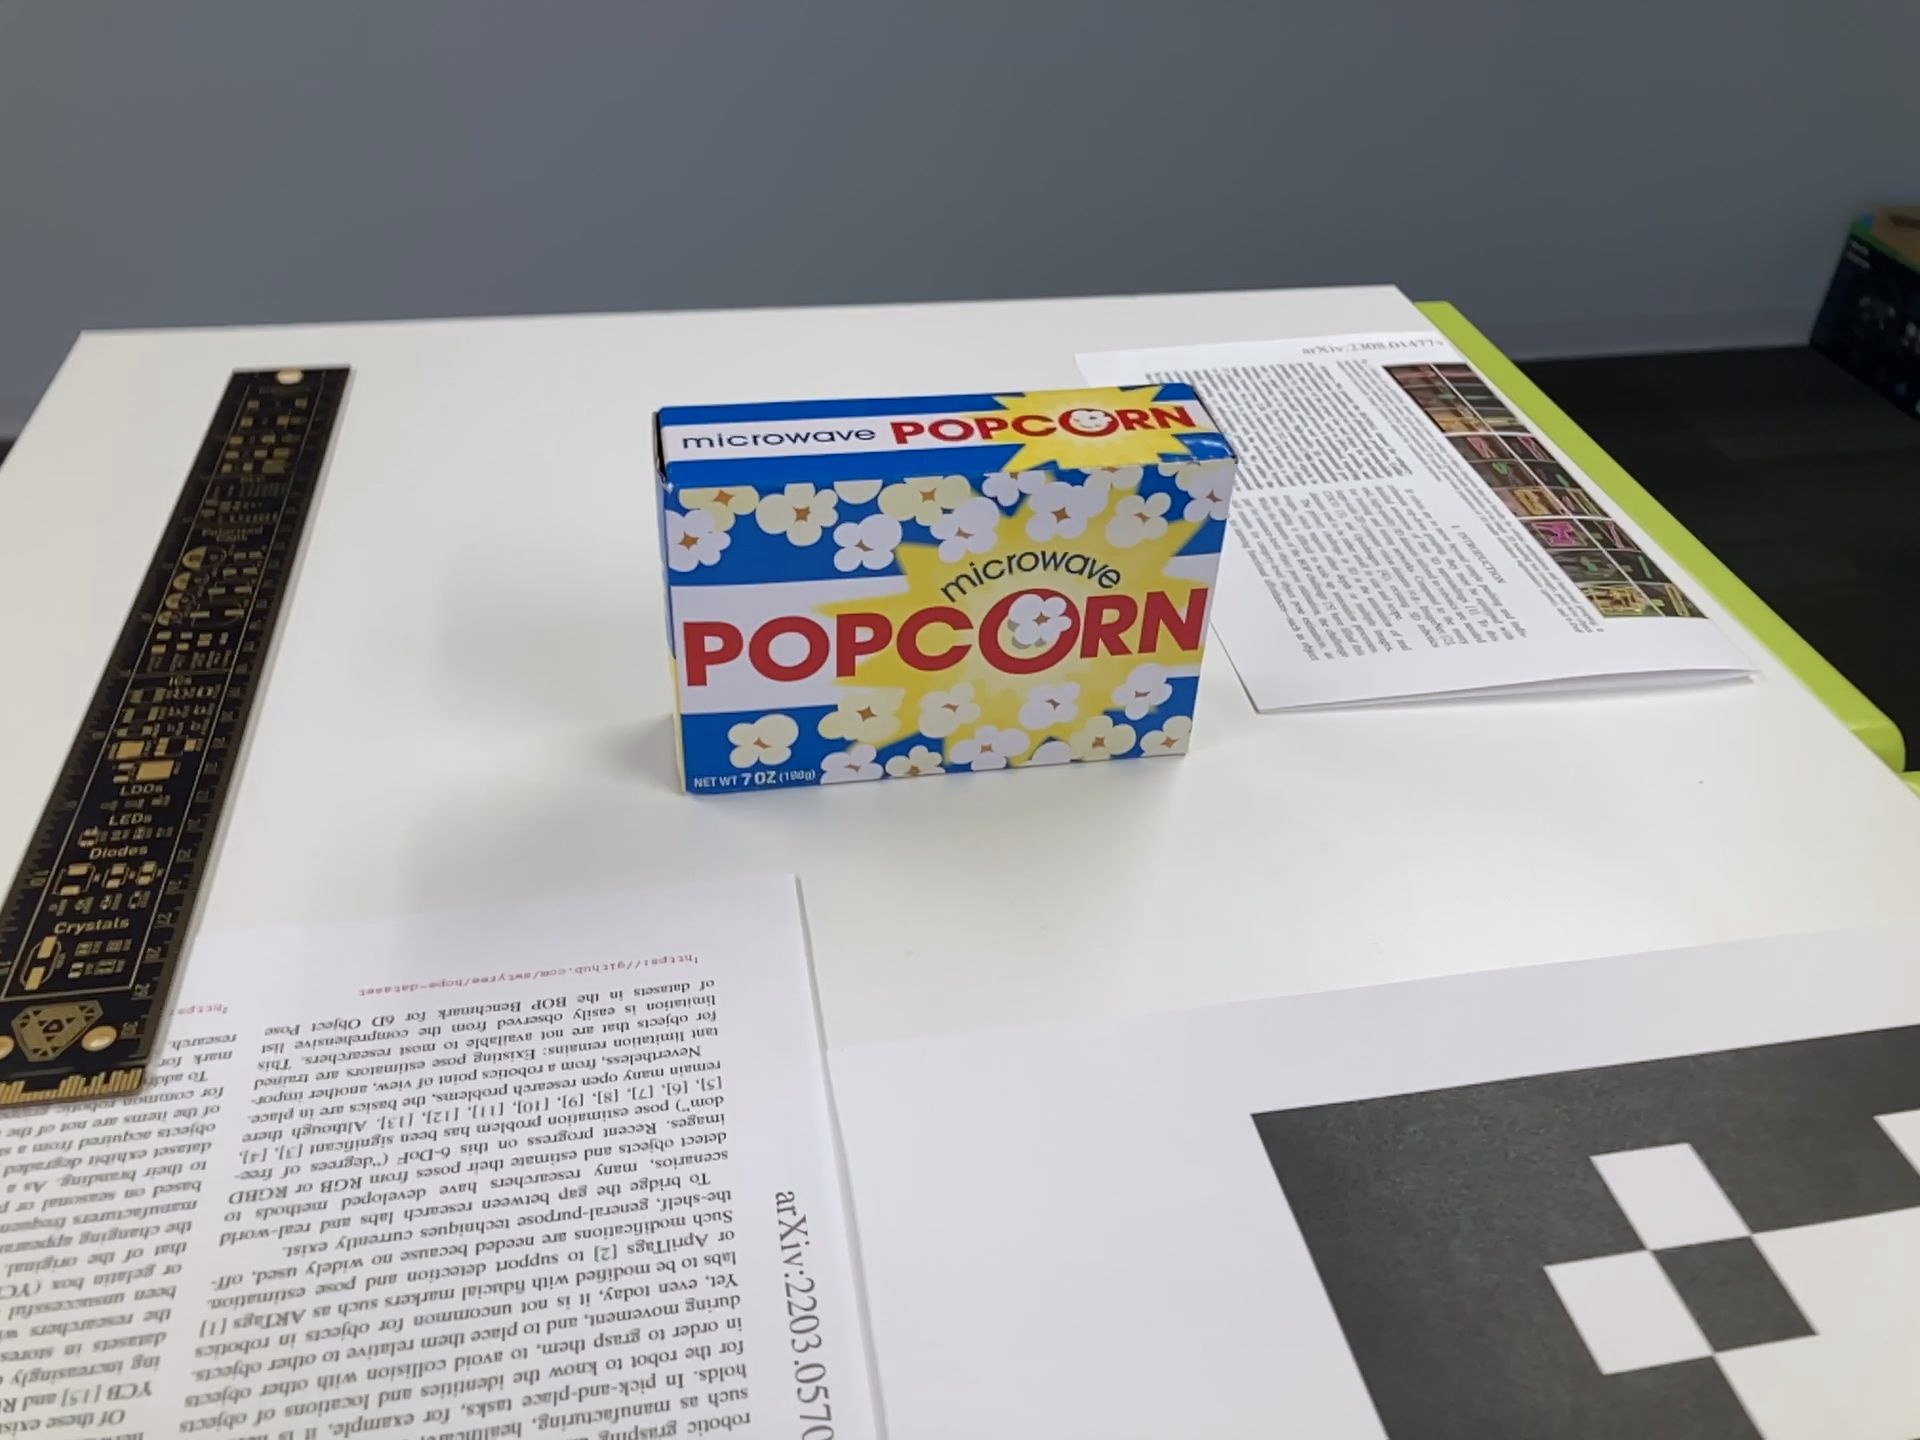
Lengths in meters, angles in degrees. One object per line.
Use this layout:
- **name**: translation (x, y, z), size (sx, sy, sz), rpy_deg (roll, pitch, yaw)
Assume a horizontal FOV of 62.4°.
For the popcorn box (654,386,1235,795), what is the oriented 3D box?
- **popcorn box**: translation (-0.005, -0.030, 0.373), size (0.126, 0.085, 0.038), rpy_deg (-5, 37, -10)
